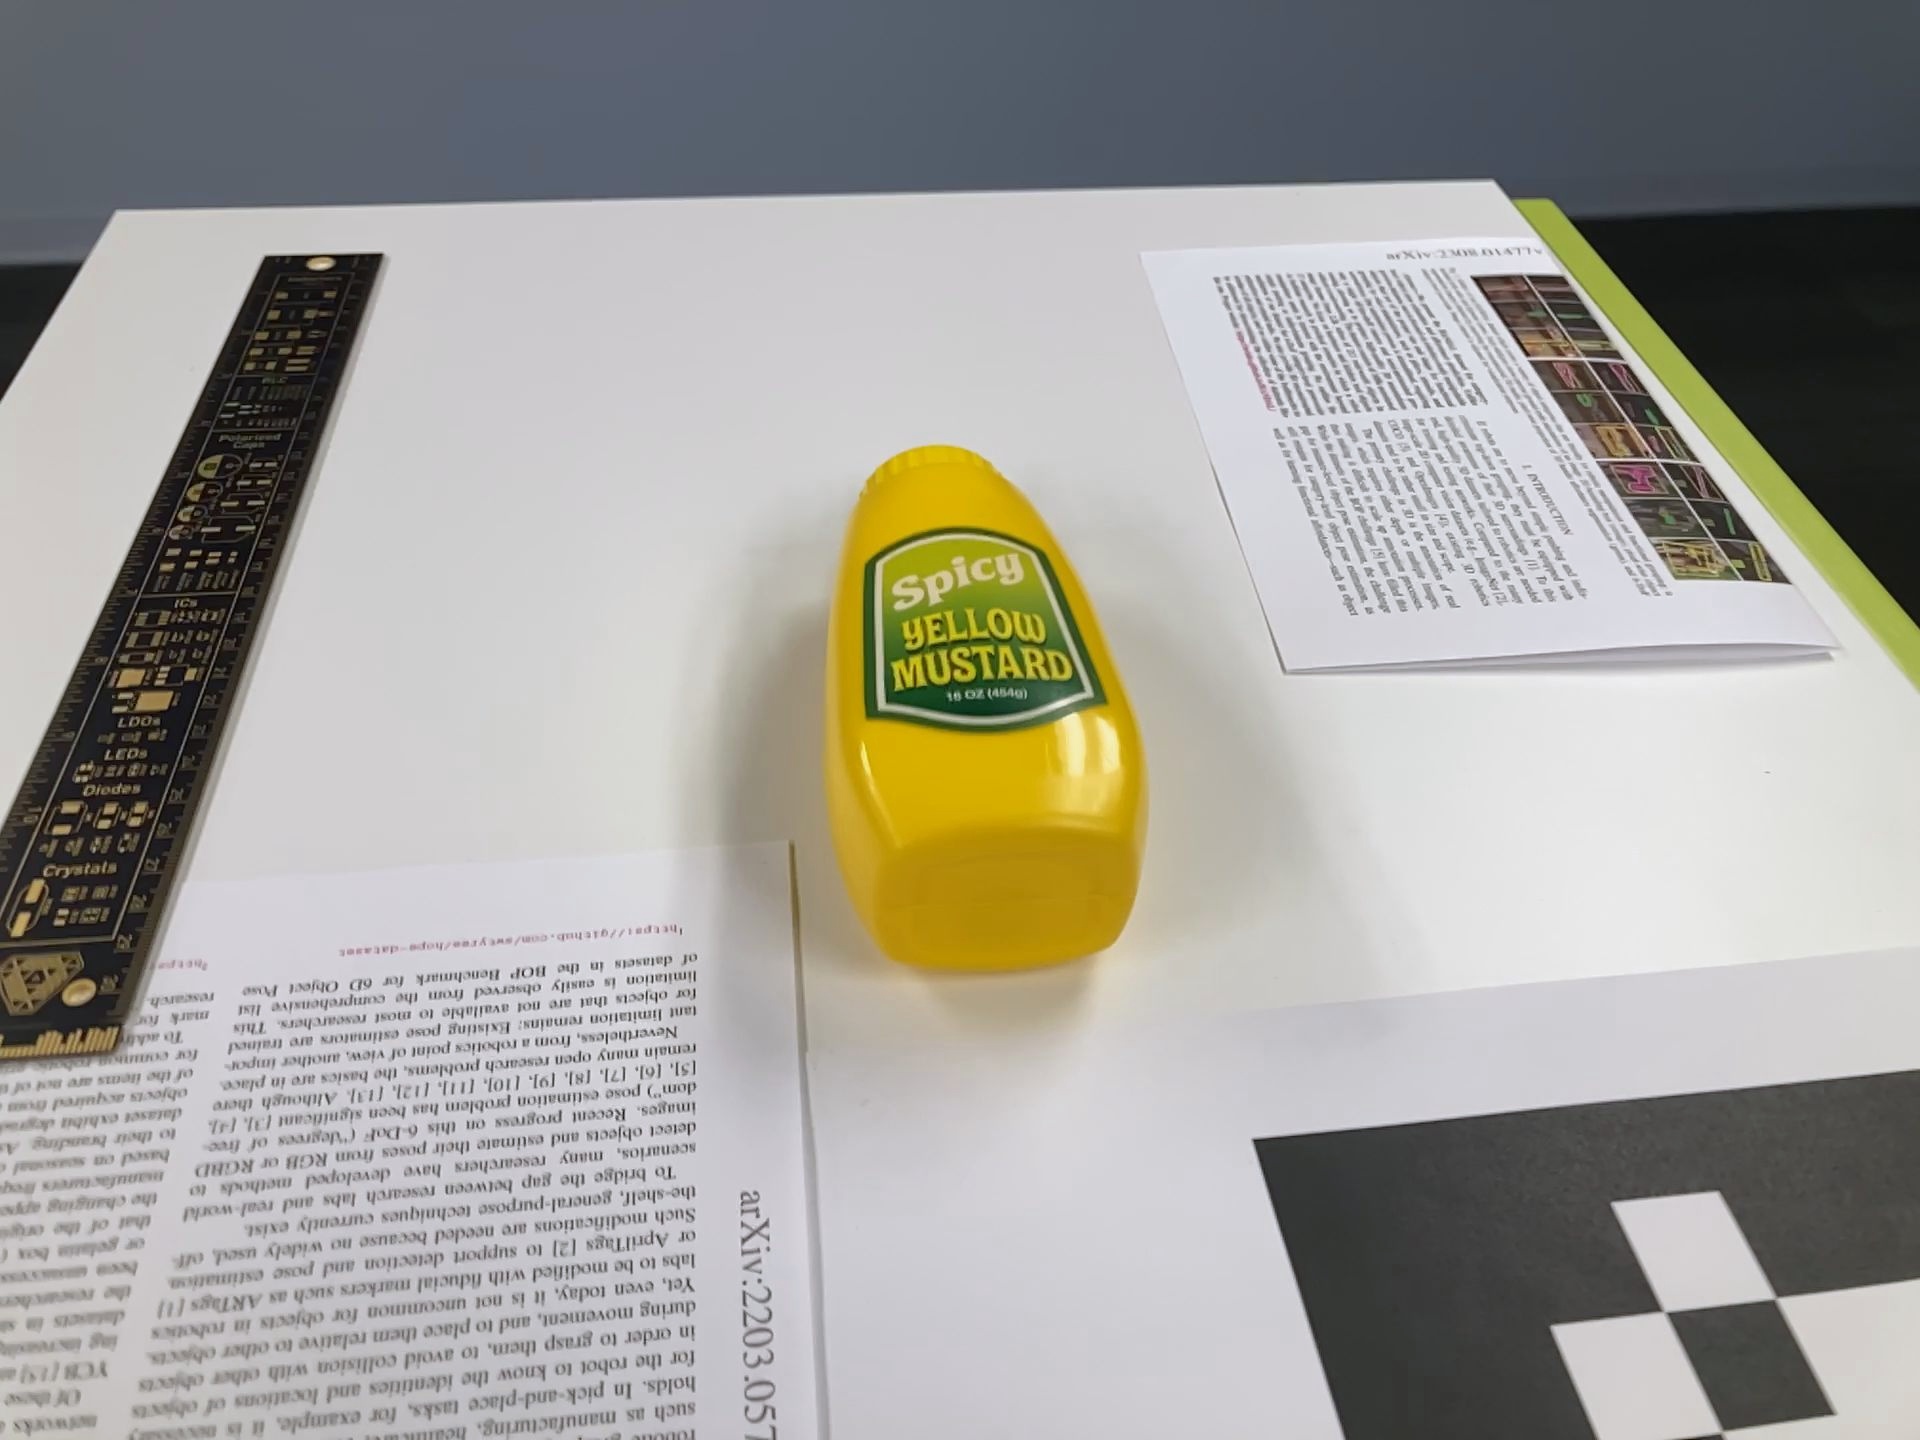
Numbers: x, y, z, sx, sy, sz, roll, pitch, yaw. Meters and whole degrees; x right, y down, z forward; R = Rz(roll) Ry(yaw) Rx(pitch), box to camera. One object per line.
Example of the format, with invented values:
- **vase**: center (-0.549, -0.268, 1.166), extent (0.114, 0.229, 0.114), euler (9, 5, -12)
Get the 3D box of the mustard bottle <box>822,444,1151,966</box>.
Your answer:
- **mustard bottle**: center (-0.001, -0.019, 0.355), extent (0.065, 0.049, 0.160), euler (-3, 43, -8)
